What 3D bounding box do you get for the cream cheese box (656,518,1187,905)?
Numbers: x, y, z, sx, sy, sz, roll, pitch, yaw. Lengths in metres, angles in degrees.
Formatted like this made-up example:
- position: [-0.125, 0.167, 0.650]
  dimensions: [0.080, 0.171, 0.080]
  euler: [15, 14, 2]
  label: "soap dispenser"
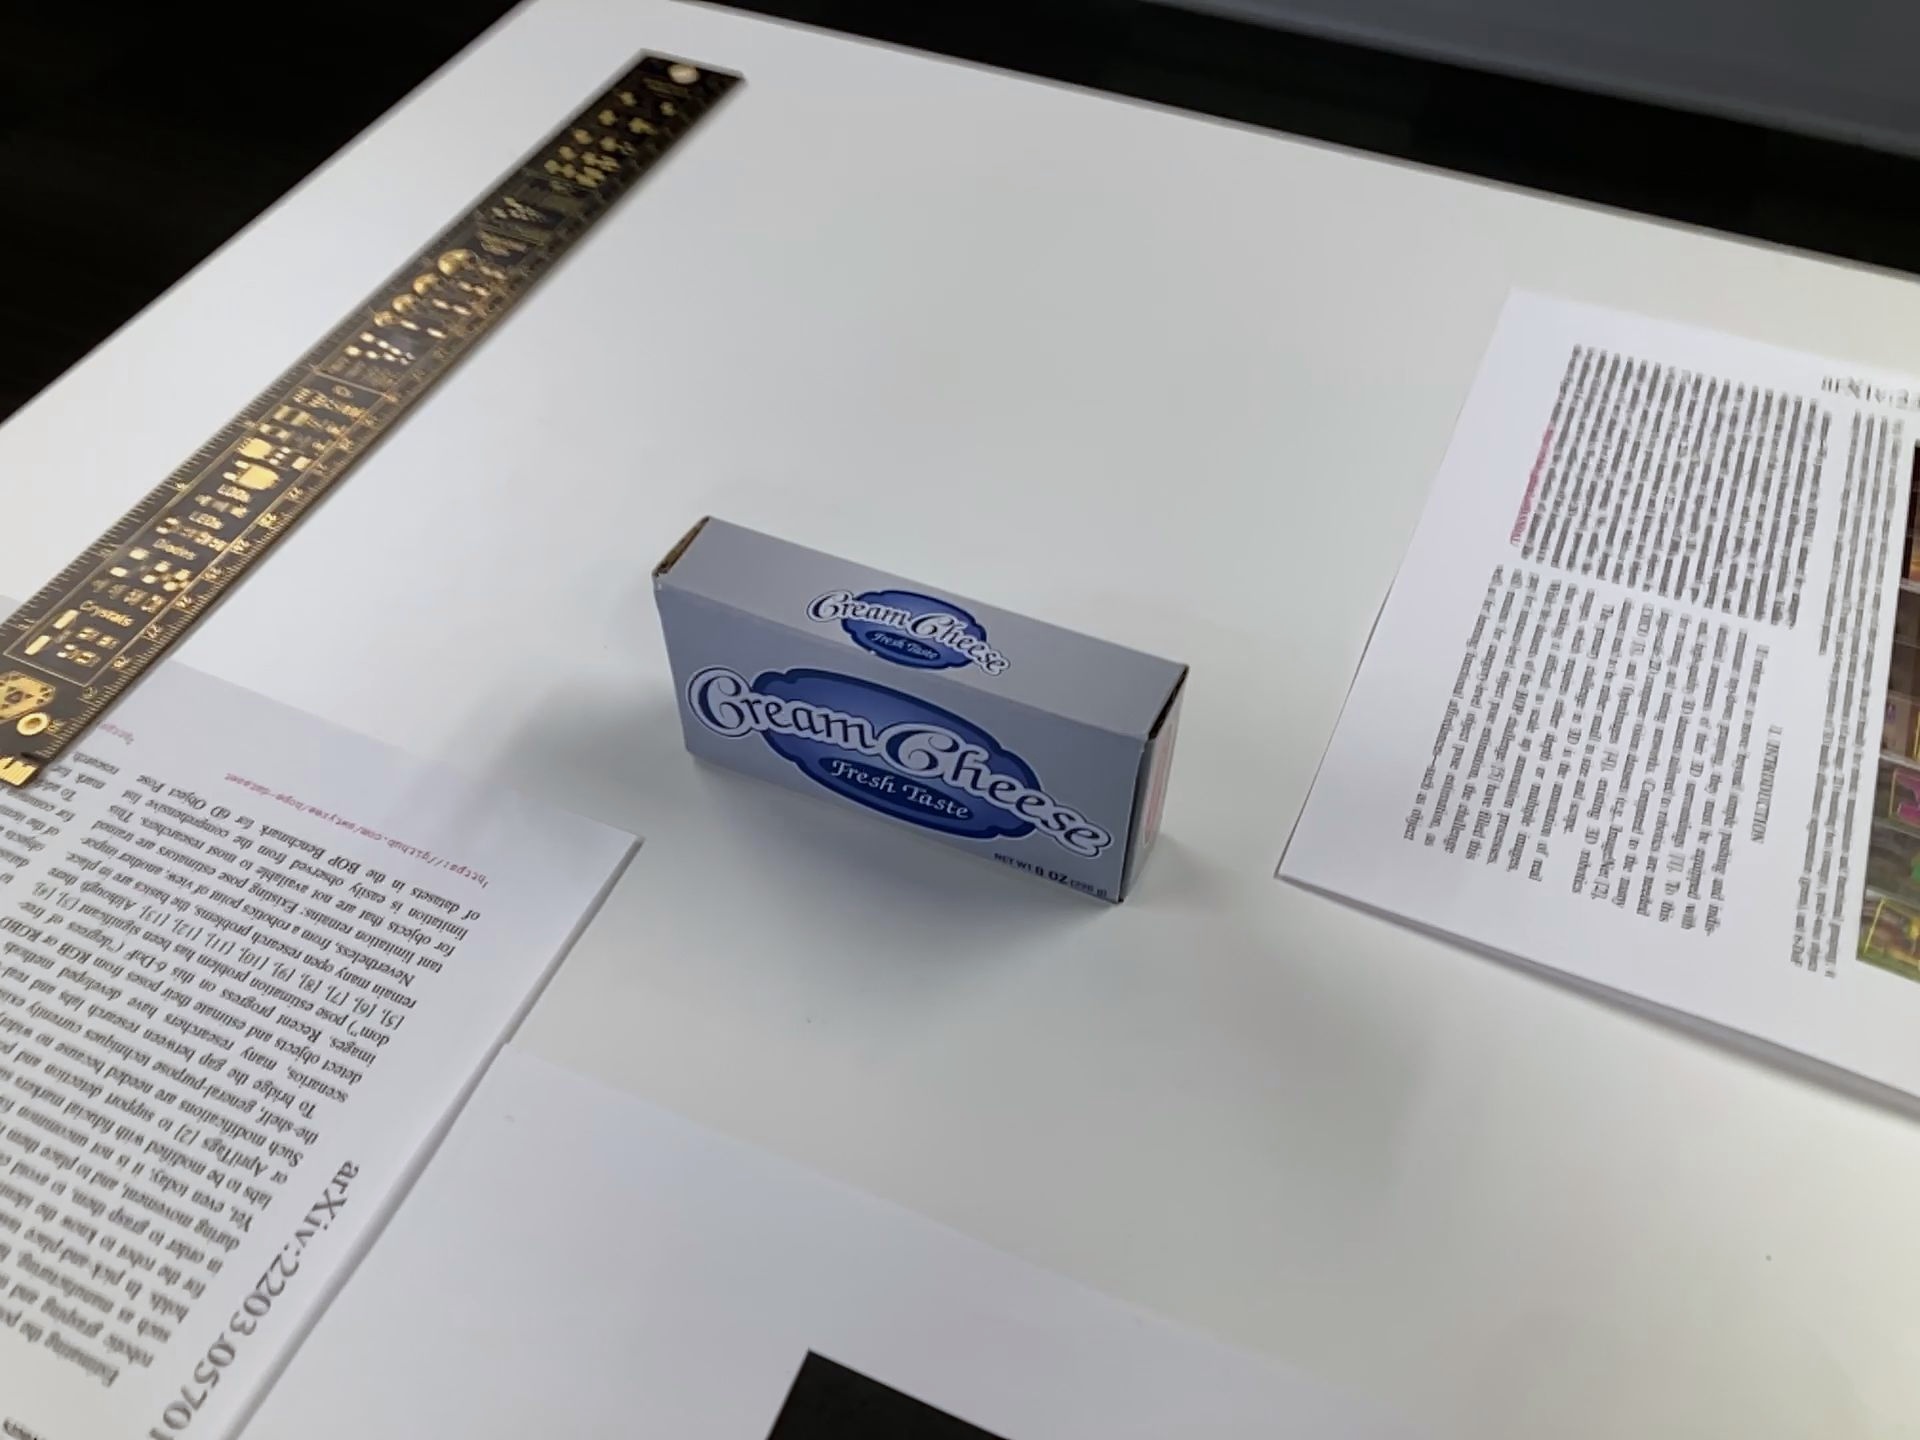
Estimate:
- position: [-0.009, -0.001, 0.322]
  dimensions: [0.104, 0.053, 0.024]
  euler: [19, 51, 15]
  label: "cream cheese box"
